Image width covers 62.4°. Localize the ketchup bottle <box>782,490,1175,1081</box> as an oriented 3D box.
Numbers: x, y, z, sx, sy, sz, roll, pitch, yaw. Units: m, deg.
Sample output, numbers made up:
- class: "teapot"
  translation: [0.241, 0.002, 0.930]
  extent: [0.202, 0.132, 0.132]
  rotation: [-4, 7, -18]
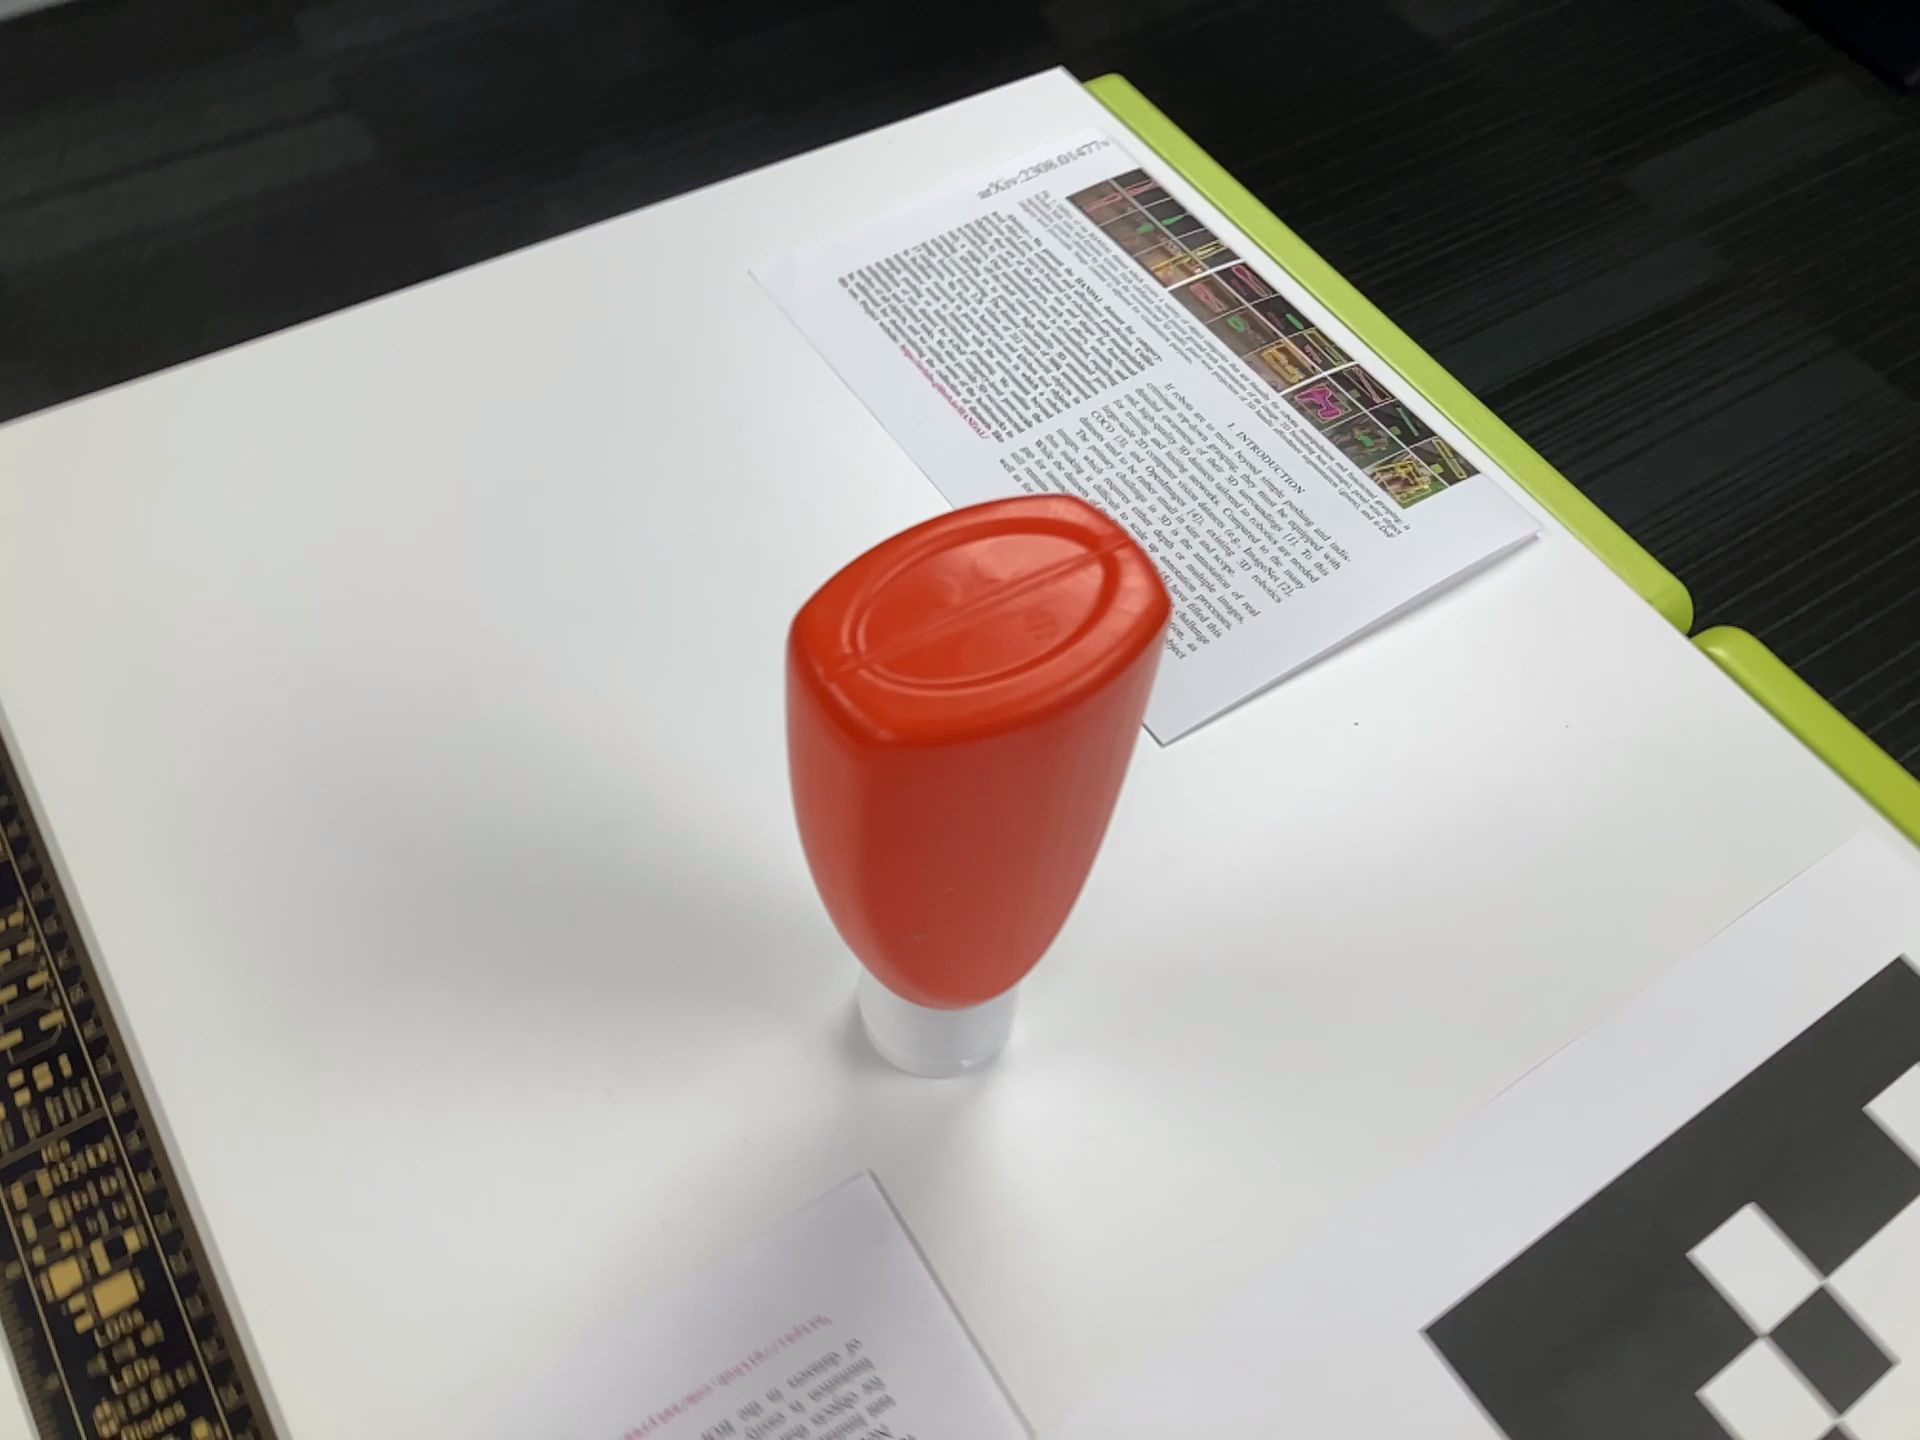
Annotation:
- class: "ketchup bottle"
  translation: [0.000, 0.025, 0.305]
  extent: [0.065, 0.149, 0.043]
  rotation: [-26, 60, -21]
